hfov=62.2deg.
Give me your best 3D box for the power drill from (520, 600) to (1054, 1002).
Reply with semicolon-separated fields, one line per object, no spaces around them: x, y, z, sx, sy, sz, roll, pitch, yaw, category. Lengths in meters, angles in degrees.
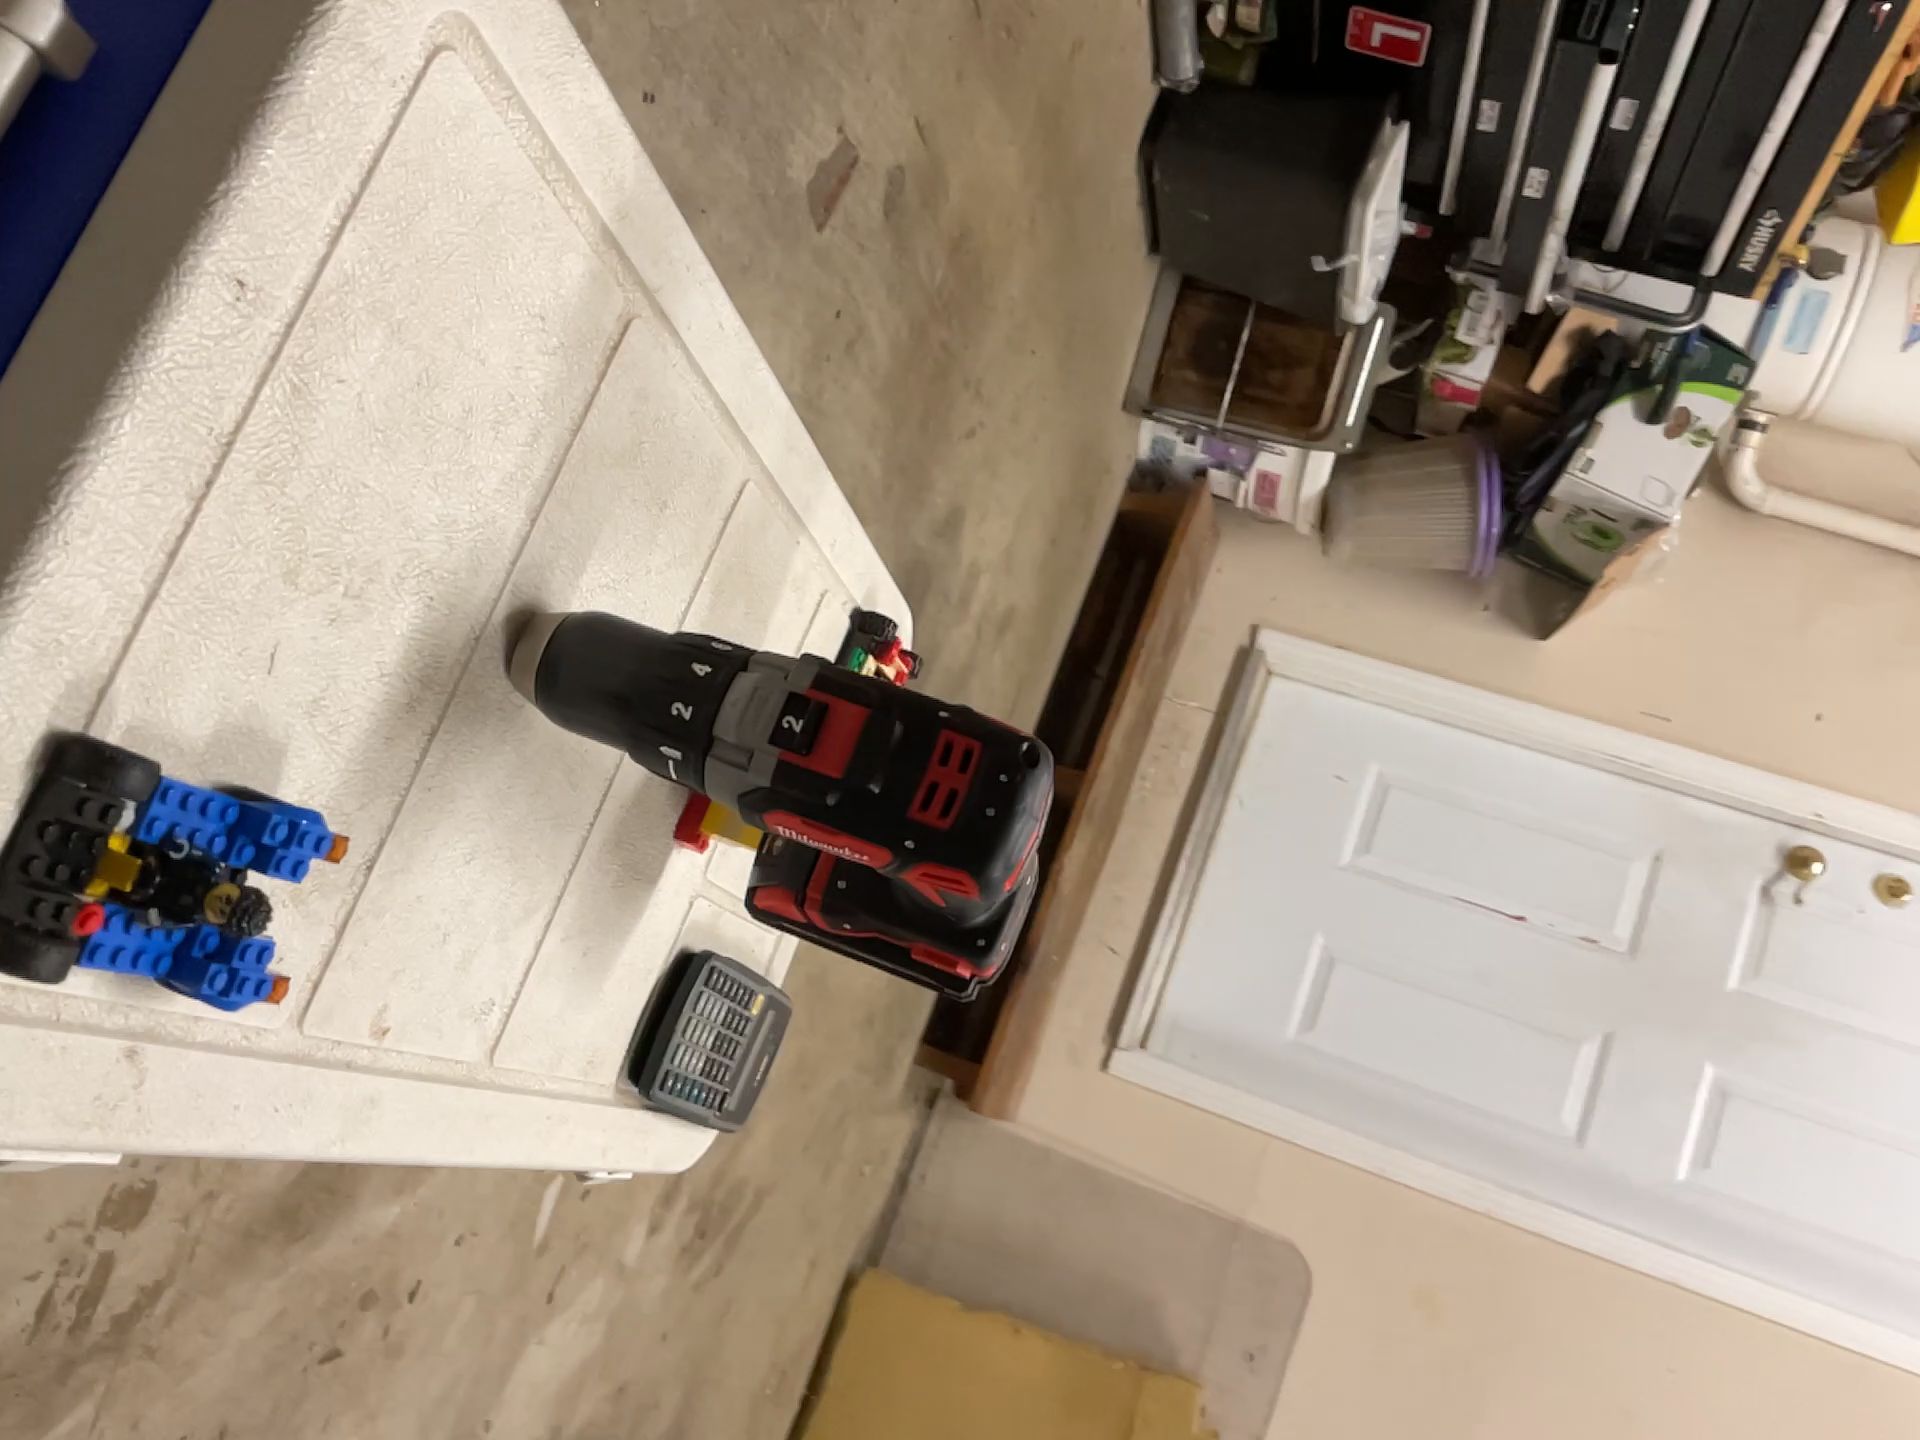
-0.056;0.030;0.612;0.226;0.188;0.080;79;33;-71;power drill
